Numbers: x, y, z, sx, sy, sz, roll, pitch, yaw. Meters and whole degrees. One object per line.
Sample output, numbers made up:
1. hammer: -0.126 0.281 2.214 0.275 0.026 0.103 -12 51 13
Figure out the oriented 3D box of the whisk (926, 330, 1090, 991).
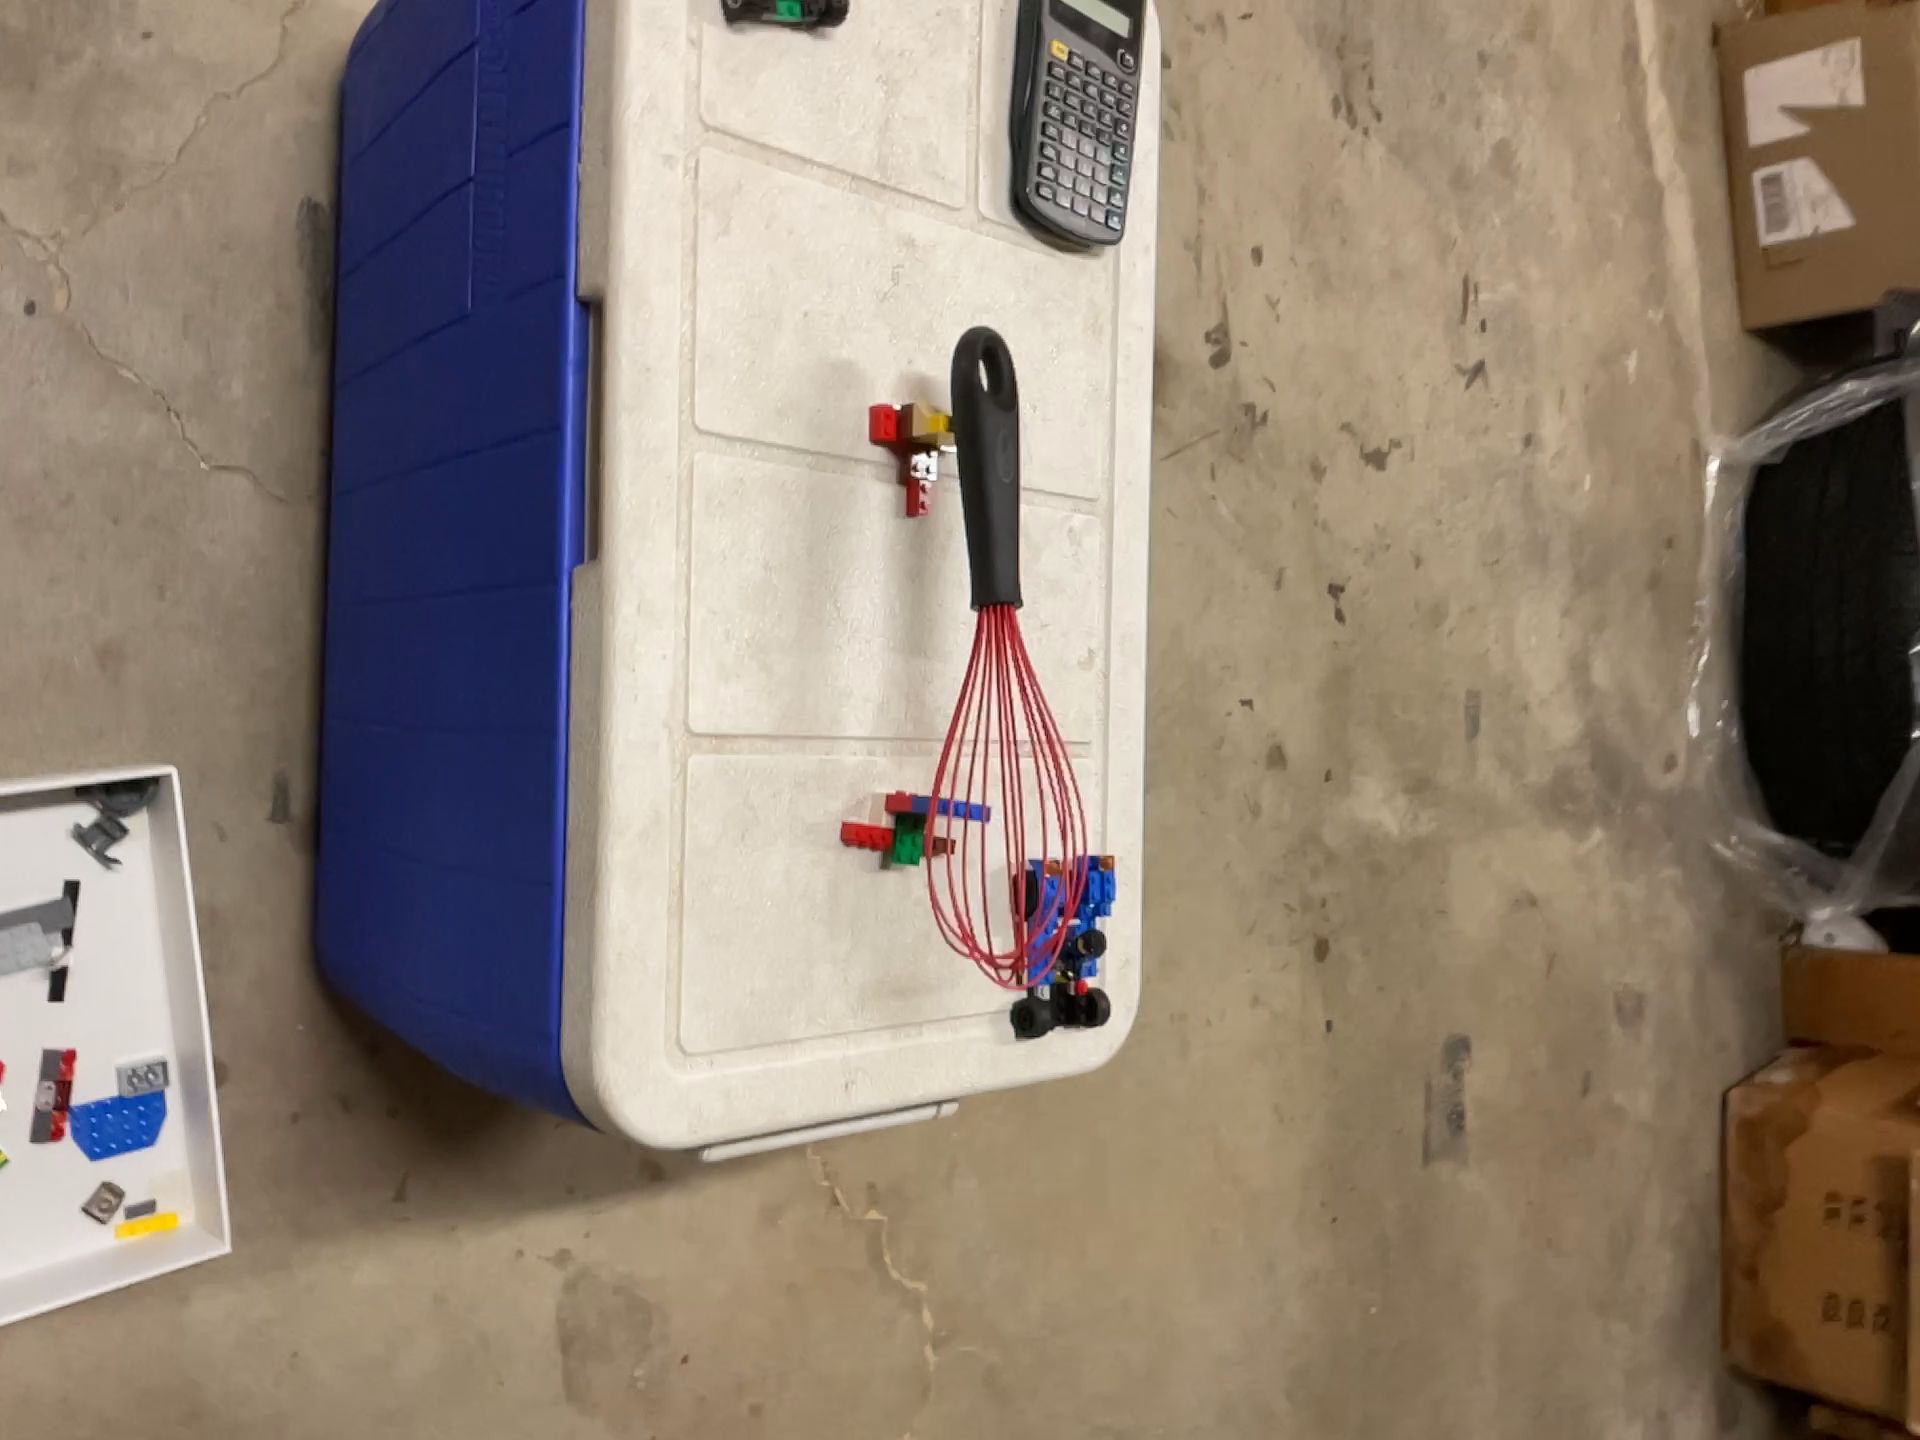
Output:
1. whisk: 0.017 -0.031 0.702 0.073 0.073 0.296 4 79 -39
